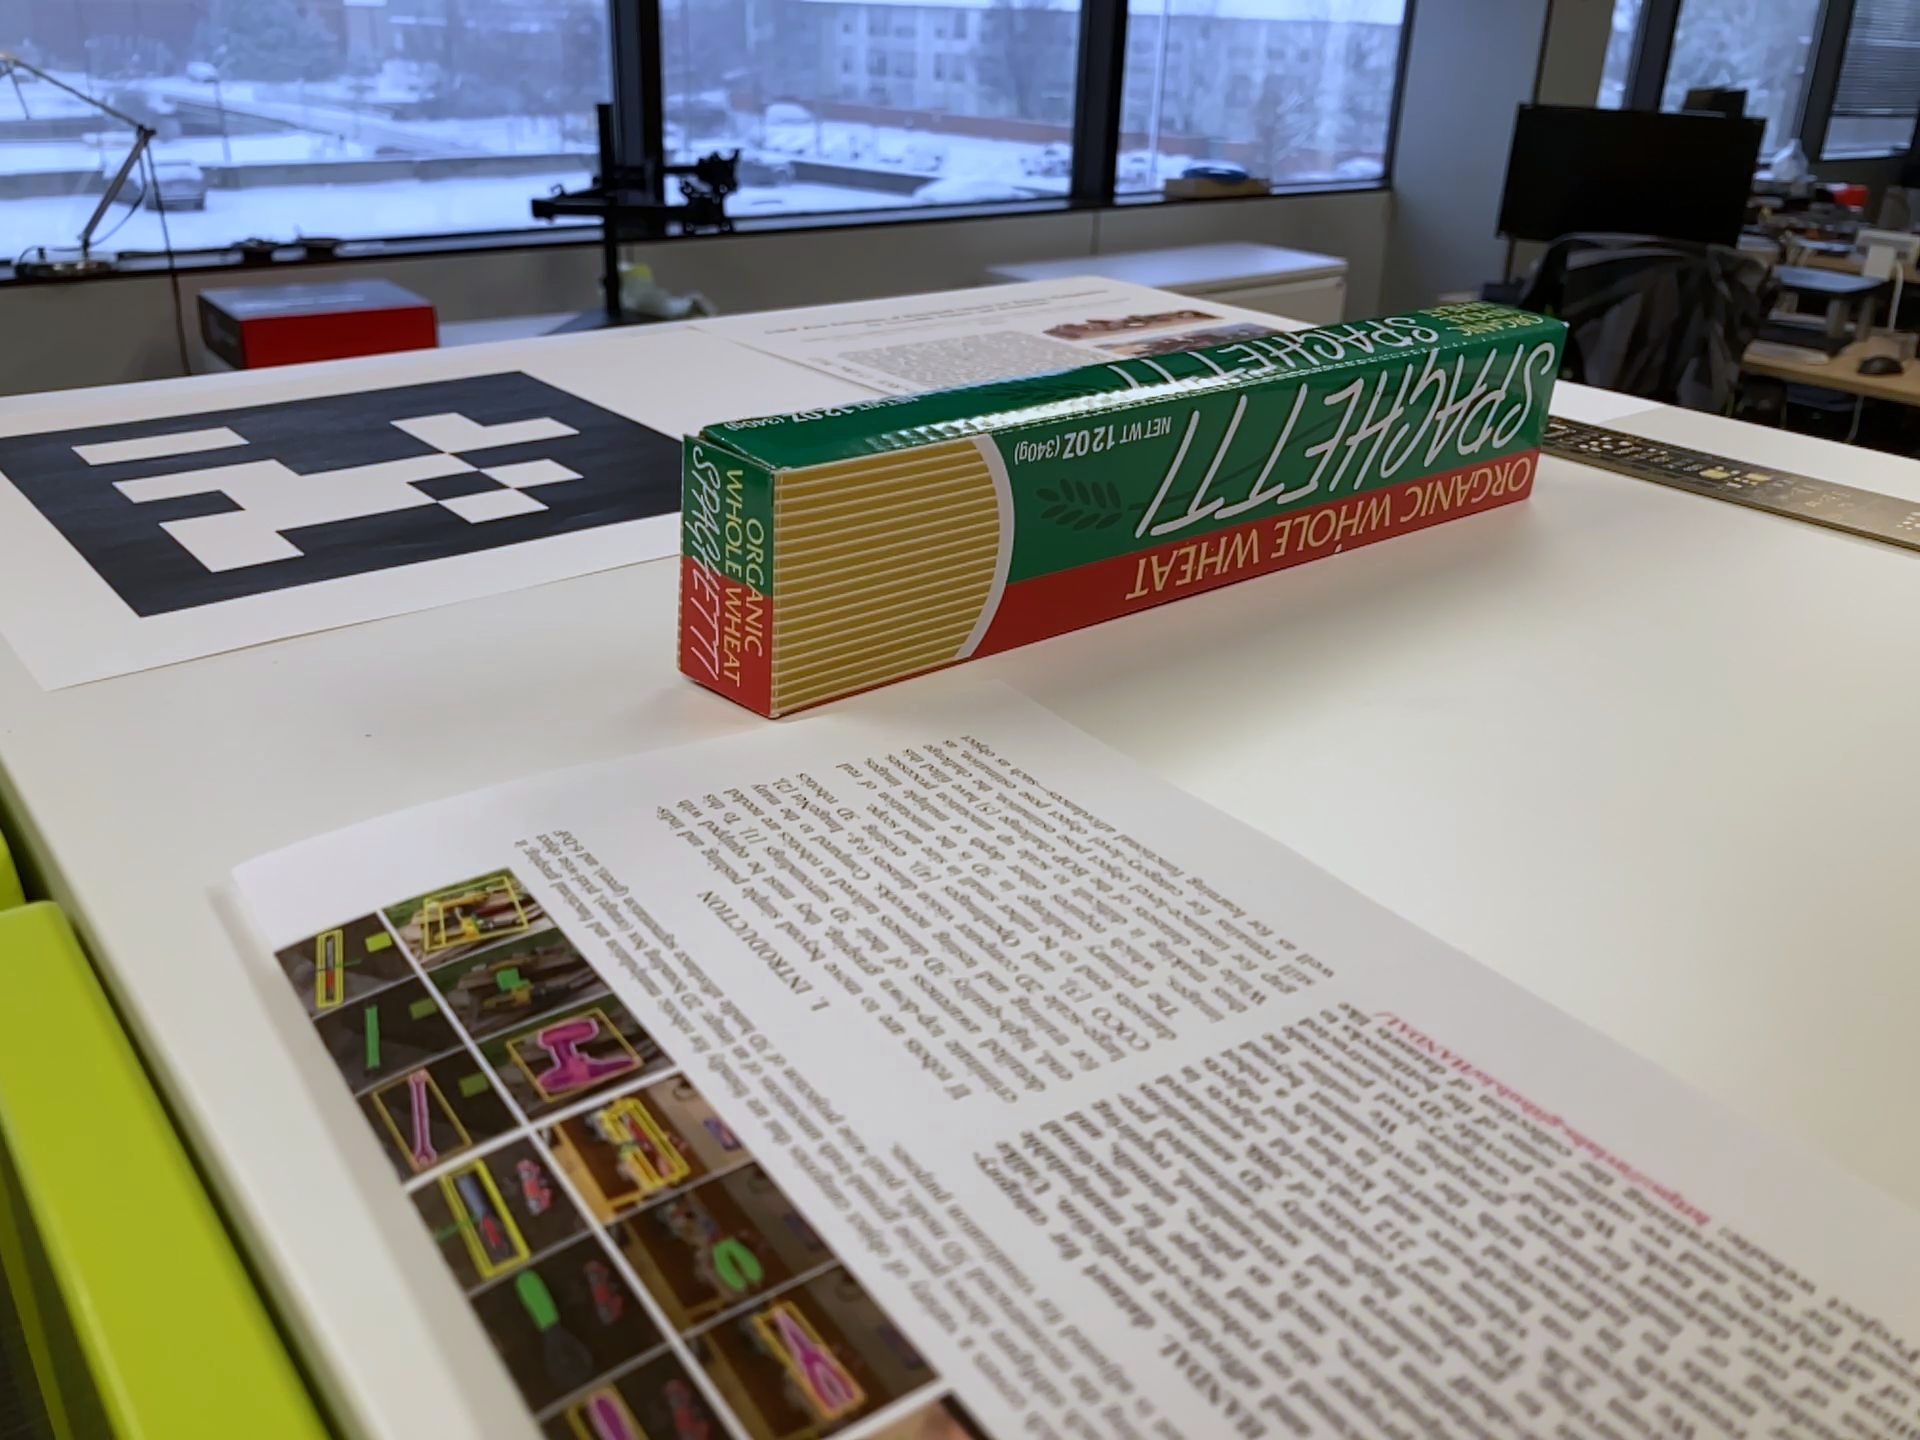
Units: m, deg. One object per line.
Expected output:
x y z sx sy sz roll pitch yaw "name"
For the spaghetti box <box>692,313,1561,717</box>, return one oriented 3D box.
0.054 -0.056 0.362 0.250 0.050 0.028 -17 34 -36 "spaghetti box"
